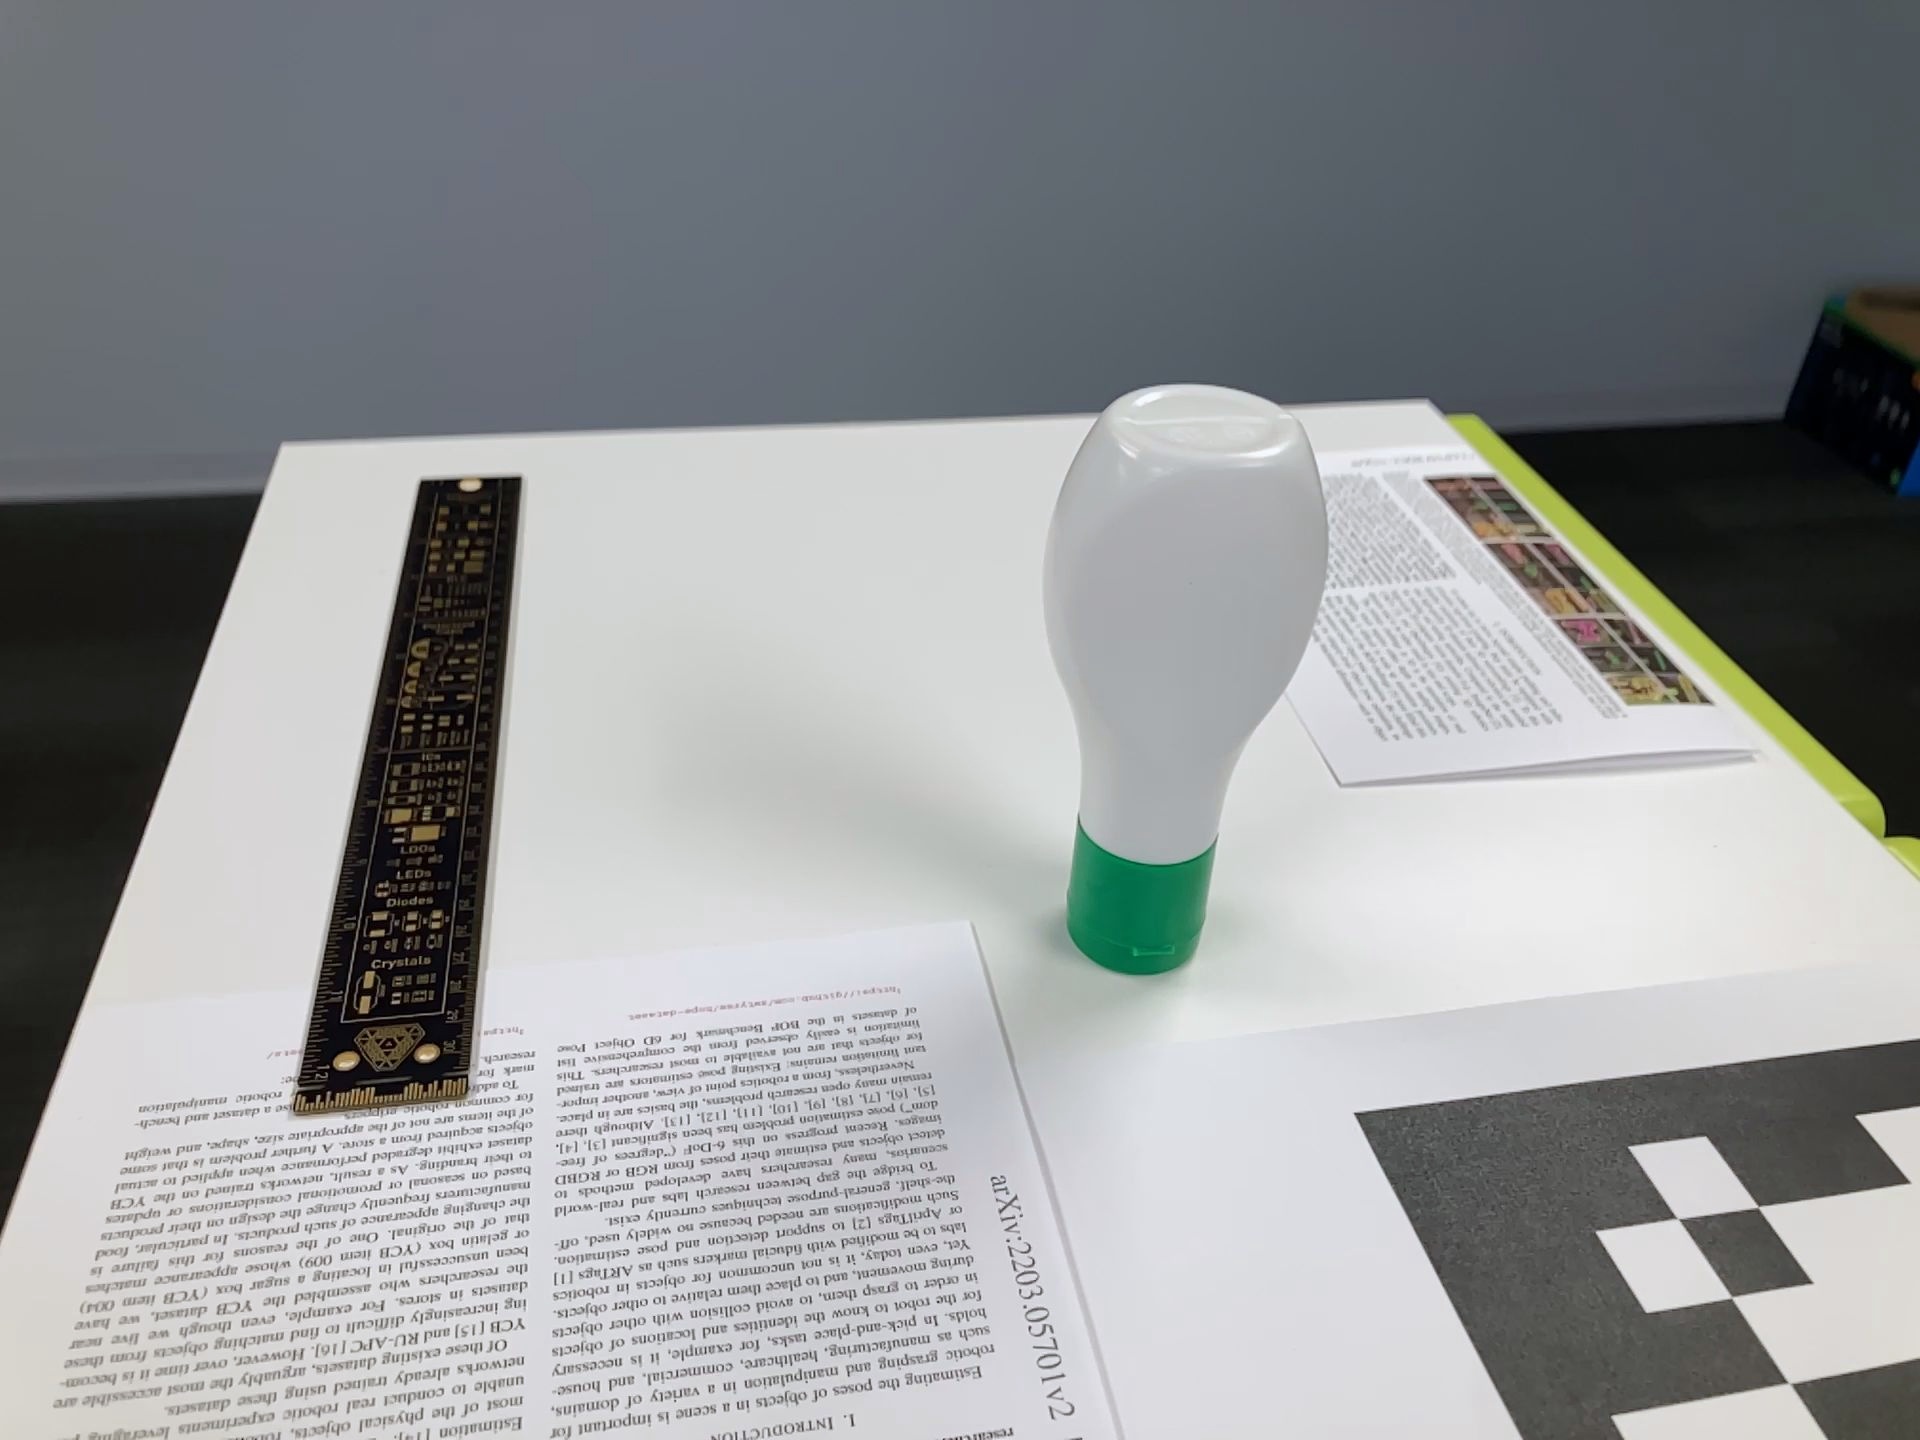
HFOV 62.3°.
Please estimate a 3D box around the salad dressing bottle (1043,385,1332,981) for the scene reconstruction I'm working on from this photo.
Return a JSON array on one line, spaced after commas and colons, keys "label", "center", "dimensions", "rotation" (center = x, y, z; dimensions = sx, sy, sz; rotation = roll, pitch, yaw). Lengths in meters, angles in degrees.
[{"label": "salad dressing bottle", "center": [0.049, -0.003, 0.381], "dimensions": [0.064, 0.147, 0.044], "rotation": [-3, 34, -9]}]
